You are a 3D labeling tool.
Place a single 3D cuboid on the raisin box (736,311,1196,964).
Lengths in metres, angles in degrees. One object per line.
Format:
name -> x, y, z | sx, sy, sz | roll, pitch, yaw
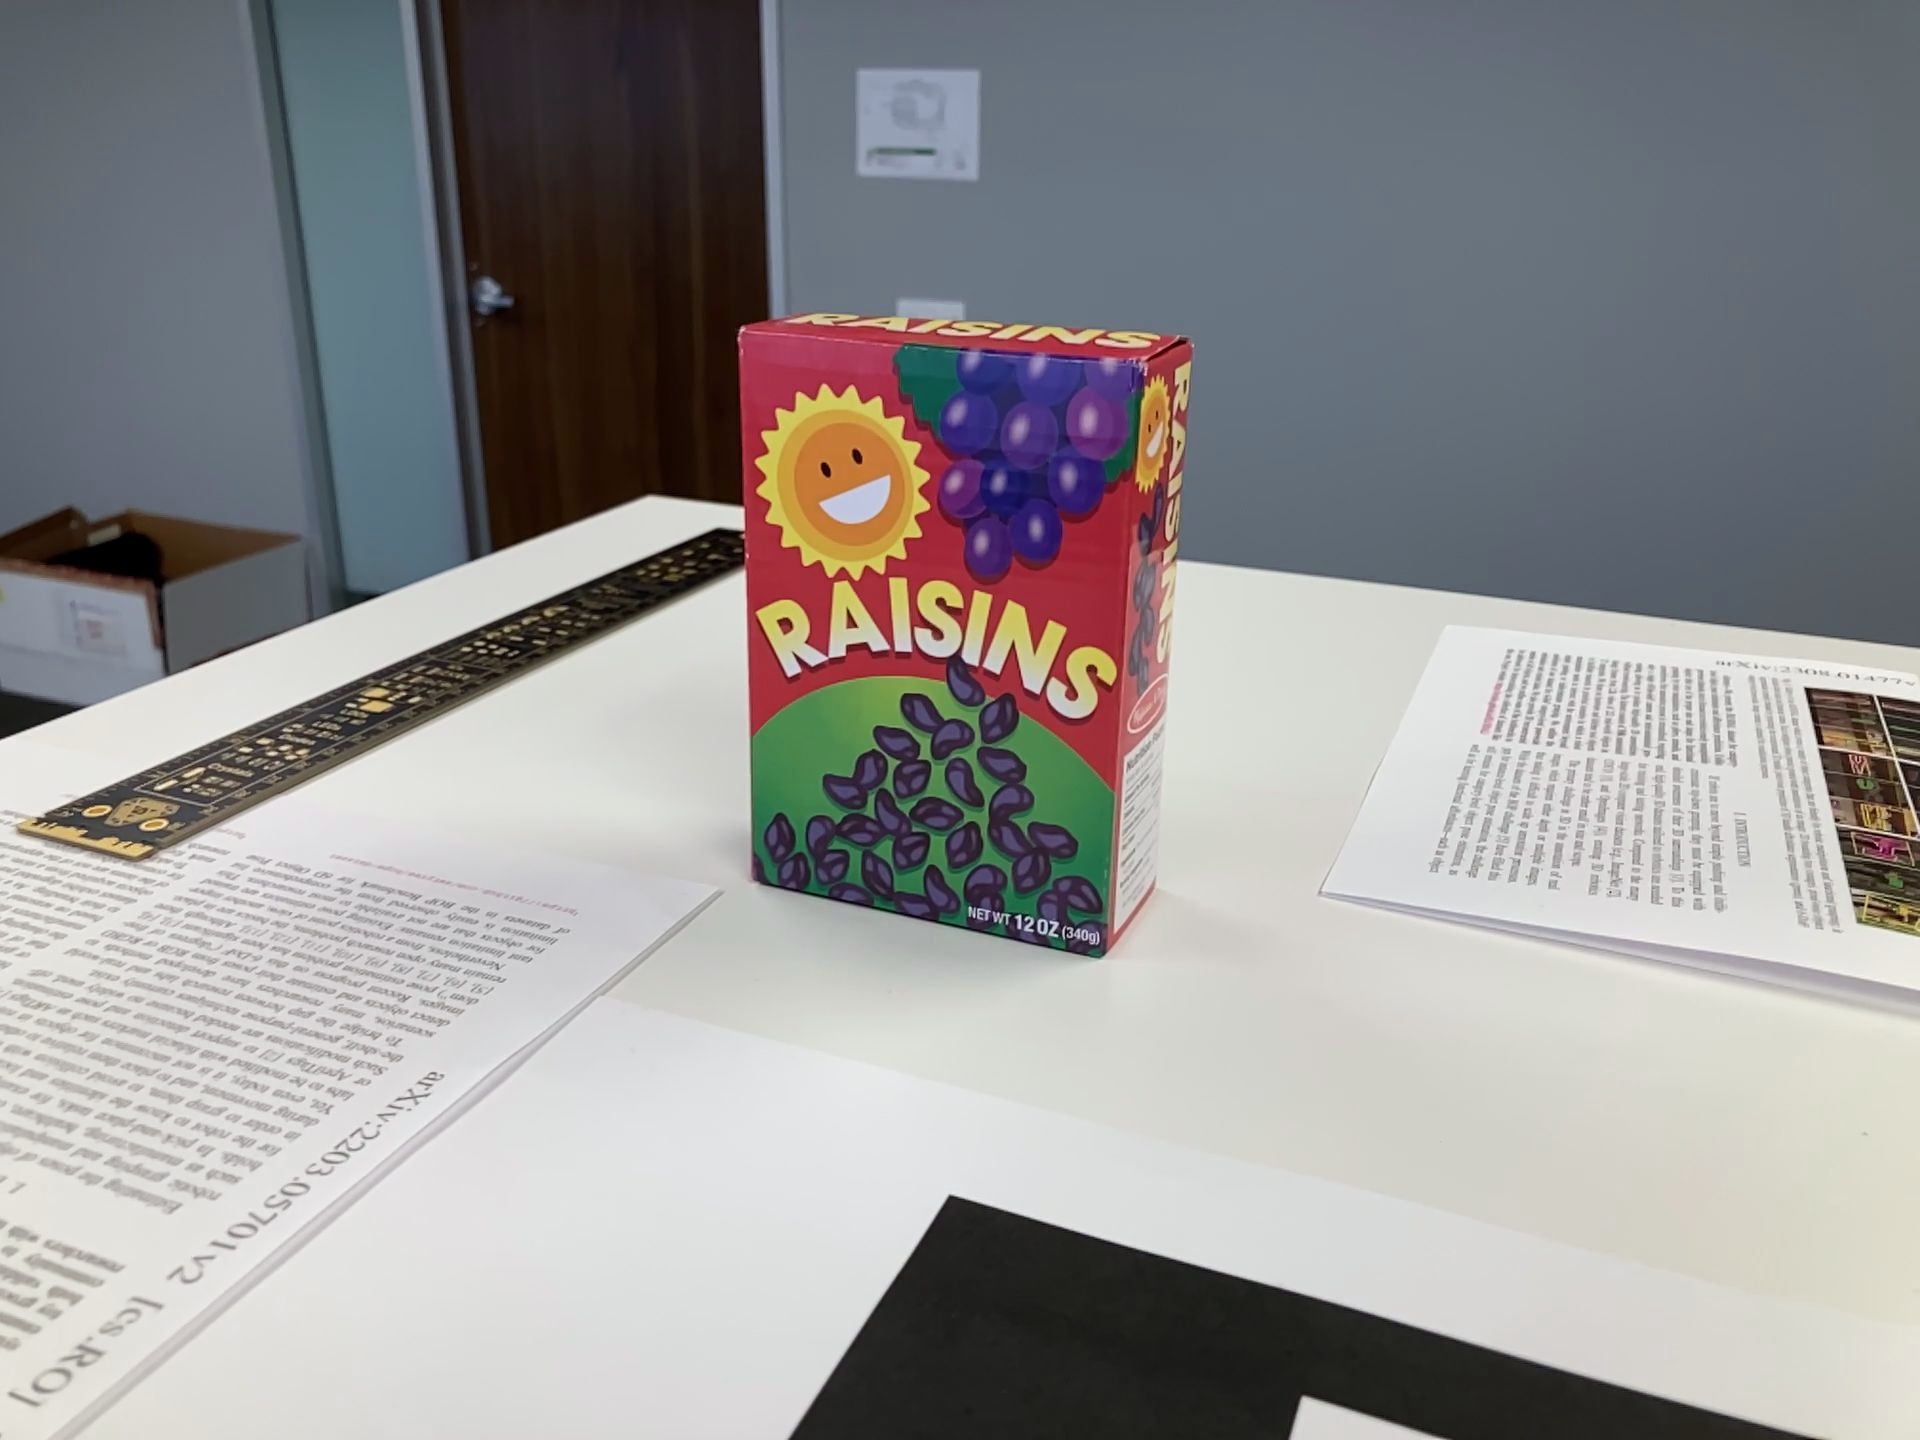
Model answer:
raisin box -> 0.000, -0.020, 0.333 | 0.086, 0.123, 0.040 | 9, 22, 21
